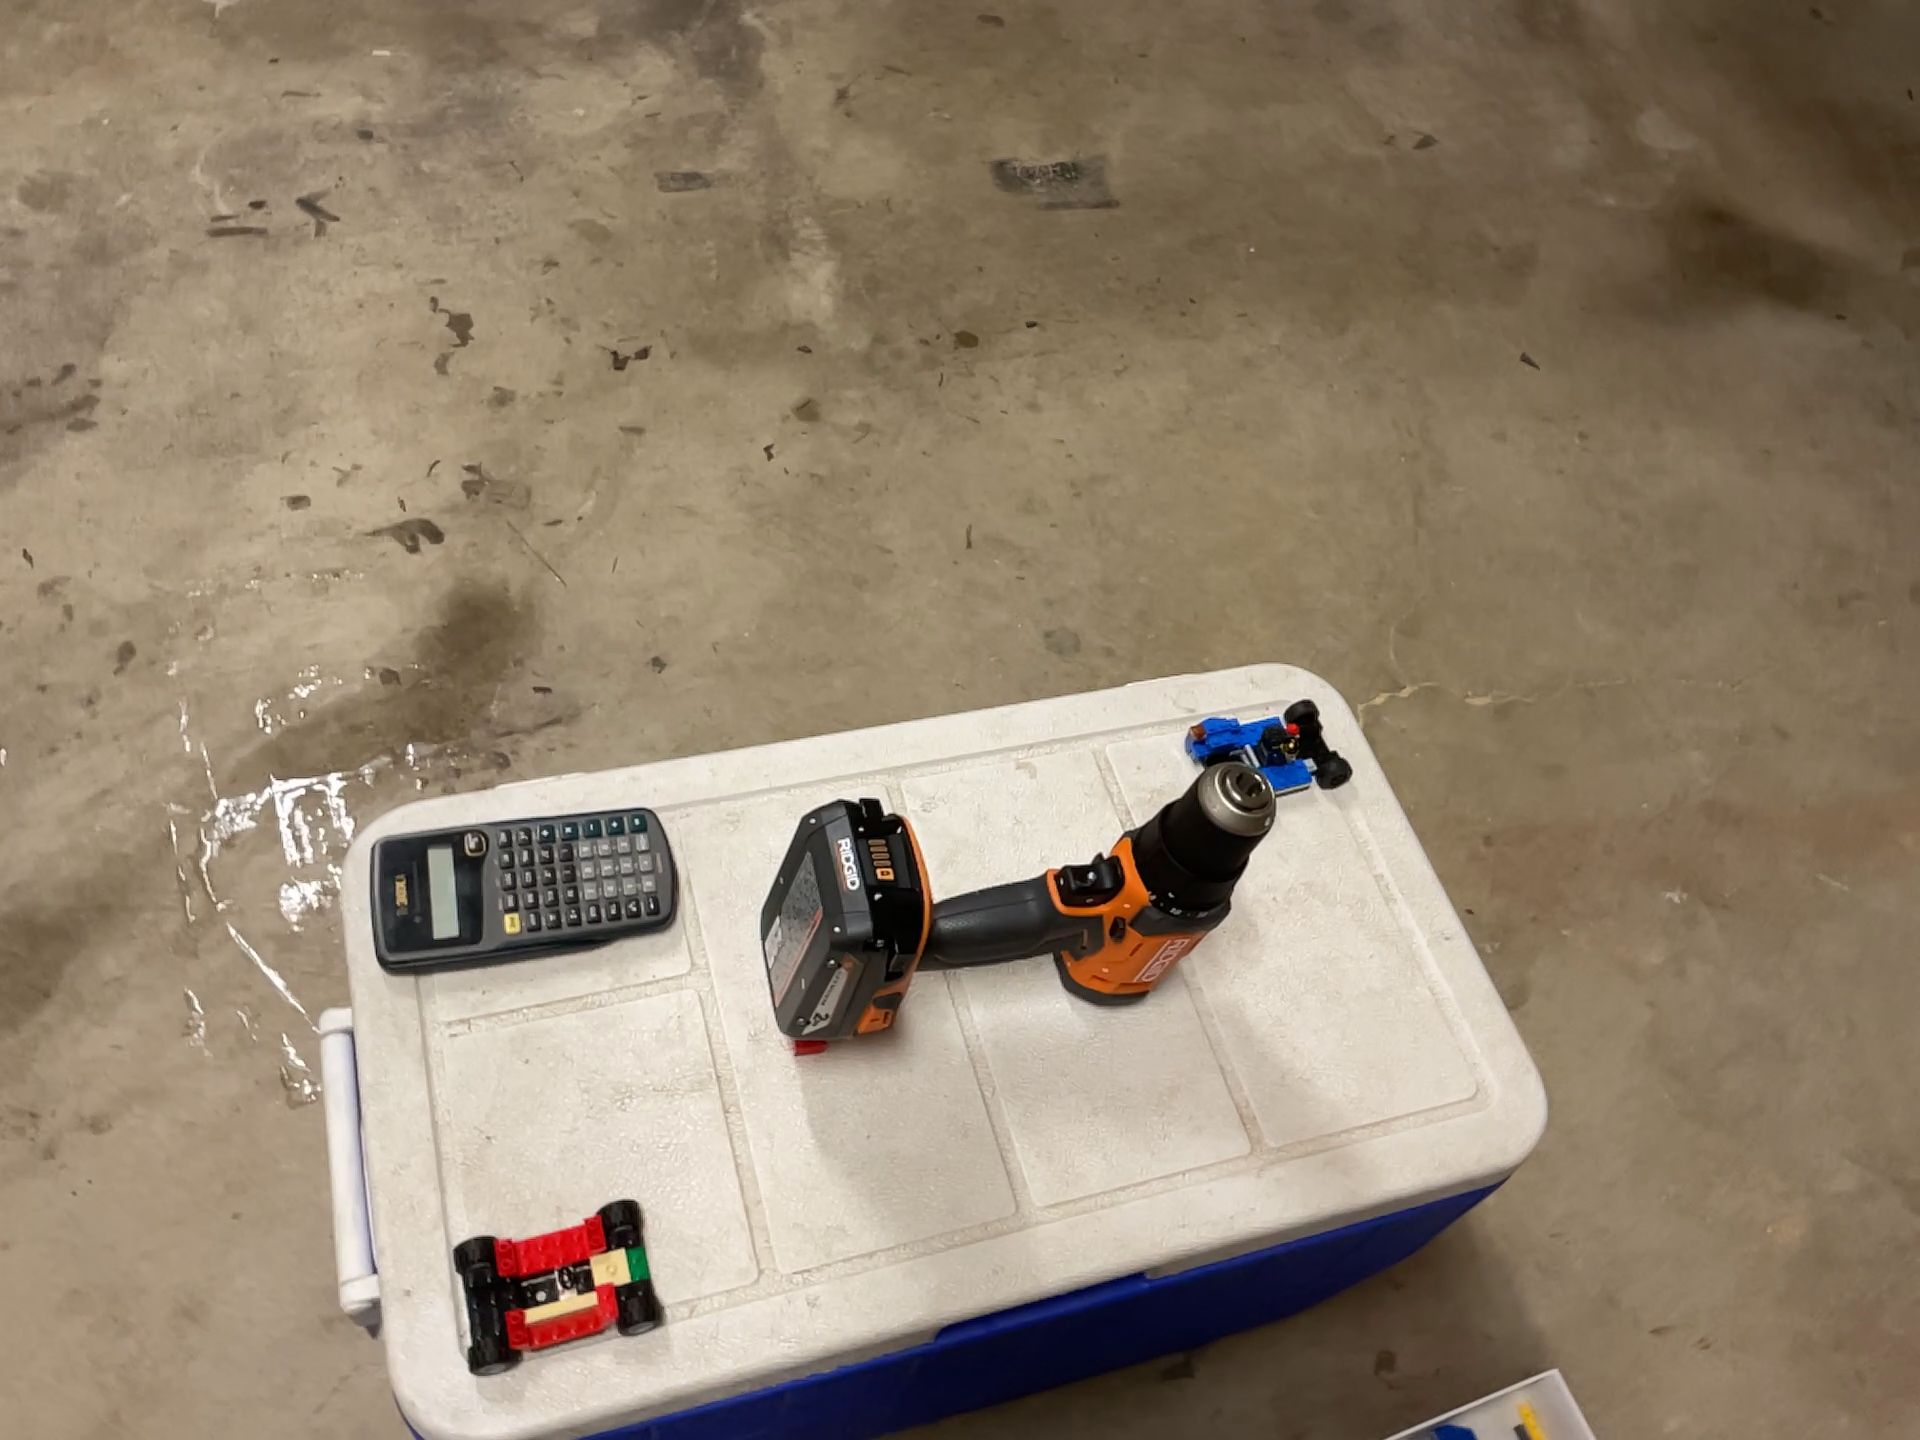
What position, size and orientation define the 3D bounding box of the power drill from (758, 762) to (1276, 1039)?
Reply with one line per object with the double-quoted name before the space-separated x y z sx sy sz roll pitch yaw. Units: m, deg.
"power drill" 0.031 0.083 0.774 0.226 0.185 0.084 -1 56 -23
